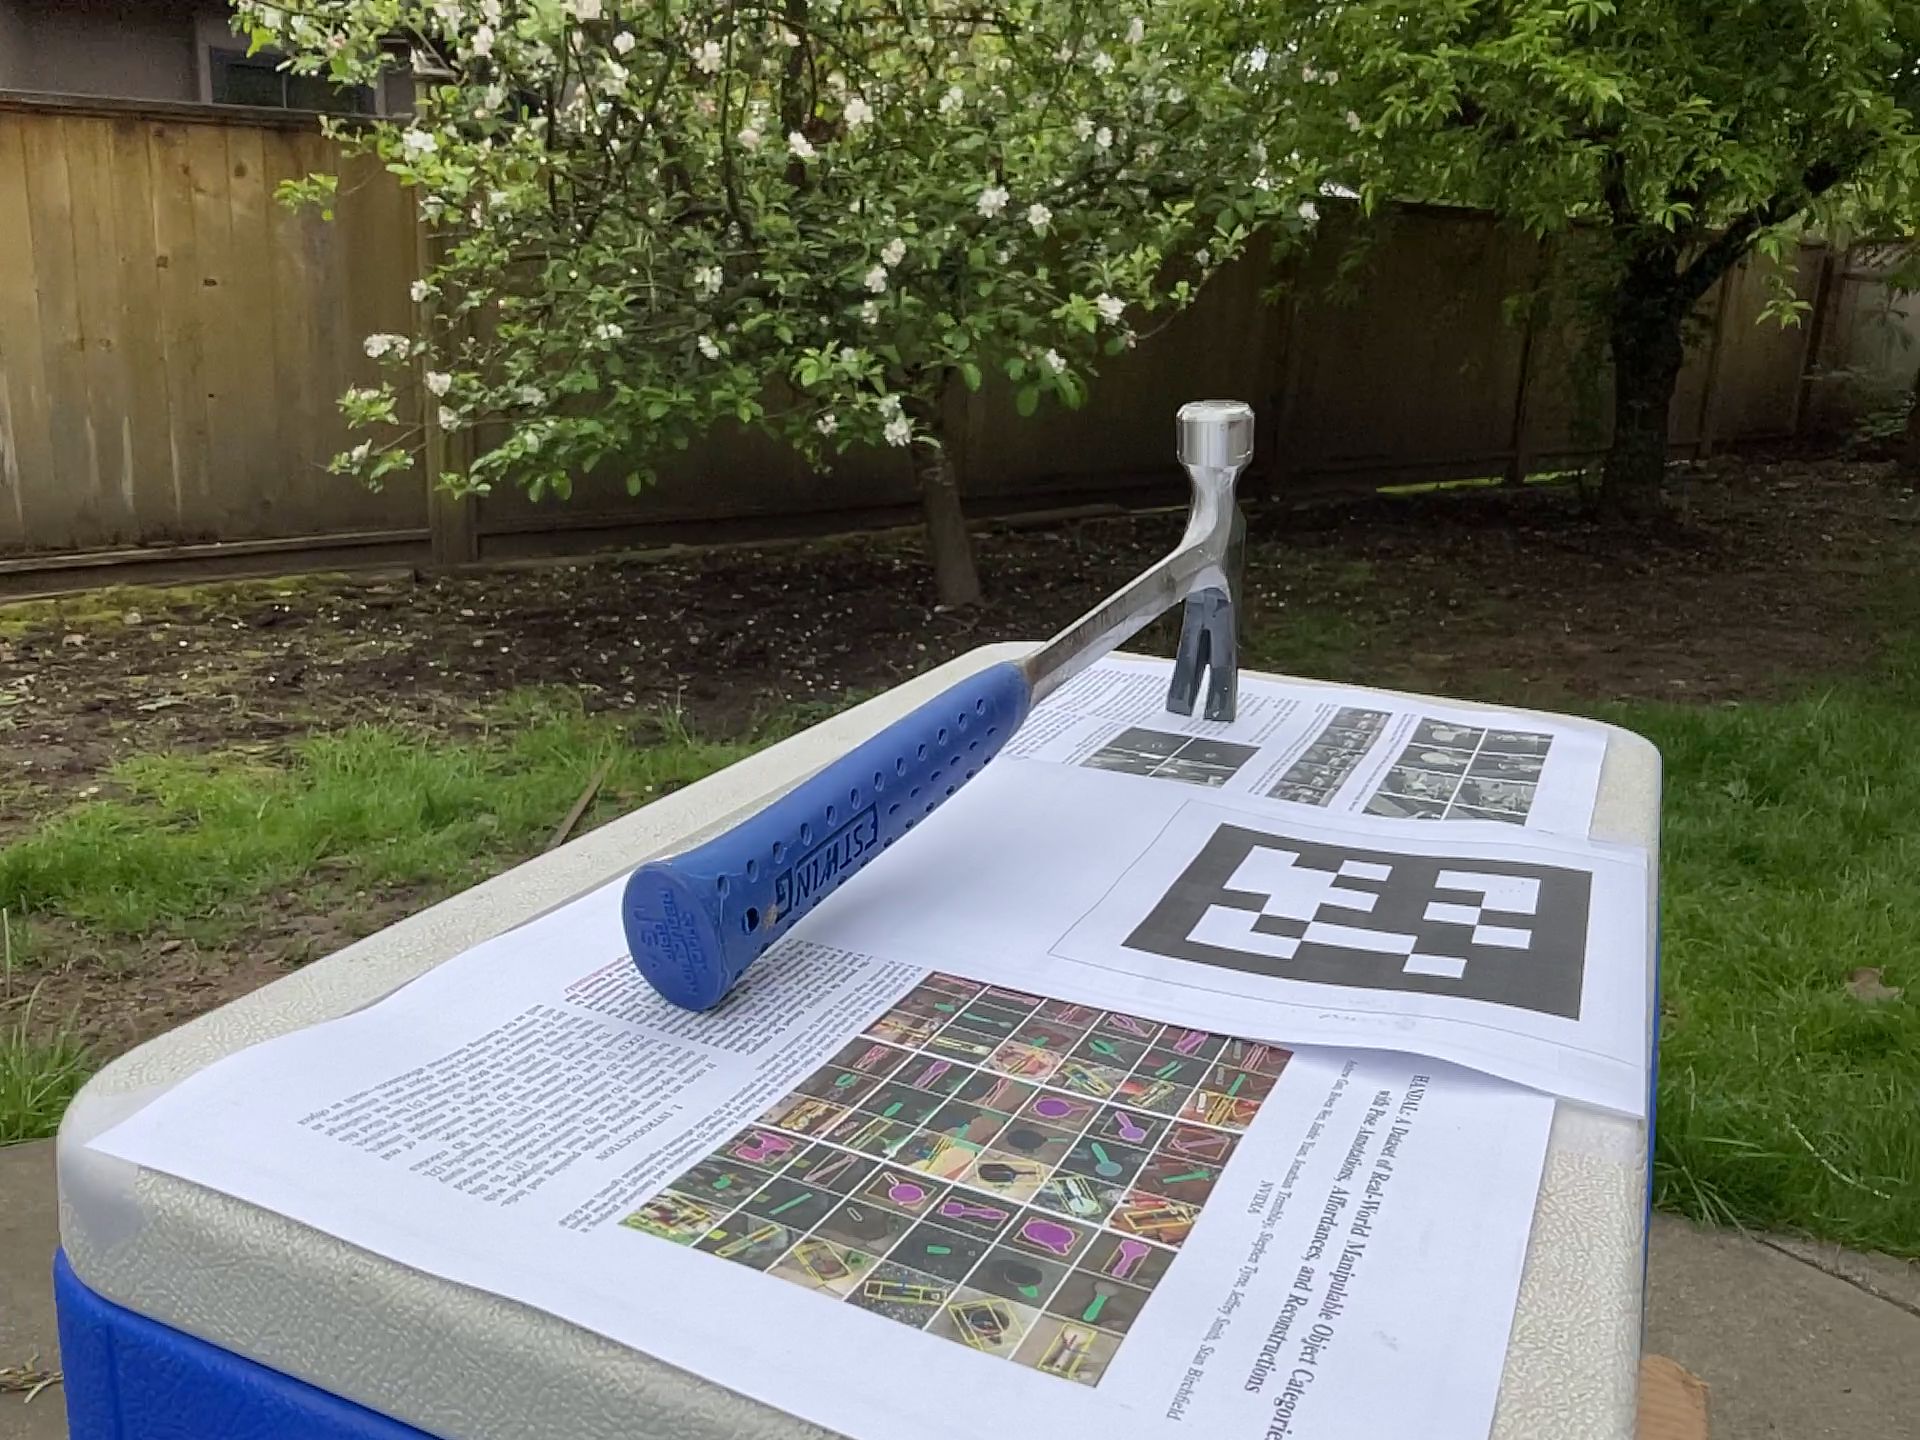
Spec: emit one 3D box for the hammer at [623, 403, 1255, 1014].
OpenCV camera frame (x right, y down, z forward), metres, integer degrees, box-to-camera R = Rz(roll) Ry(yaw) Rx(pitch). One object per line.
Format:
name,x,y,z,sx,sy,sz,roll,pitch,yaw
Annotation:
hammer,0.025,-0.006,0.581,0.035,0.144,0.405,10,25,28
